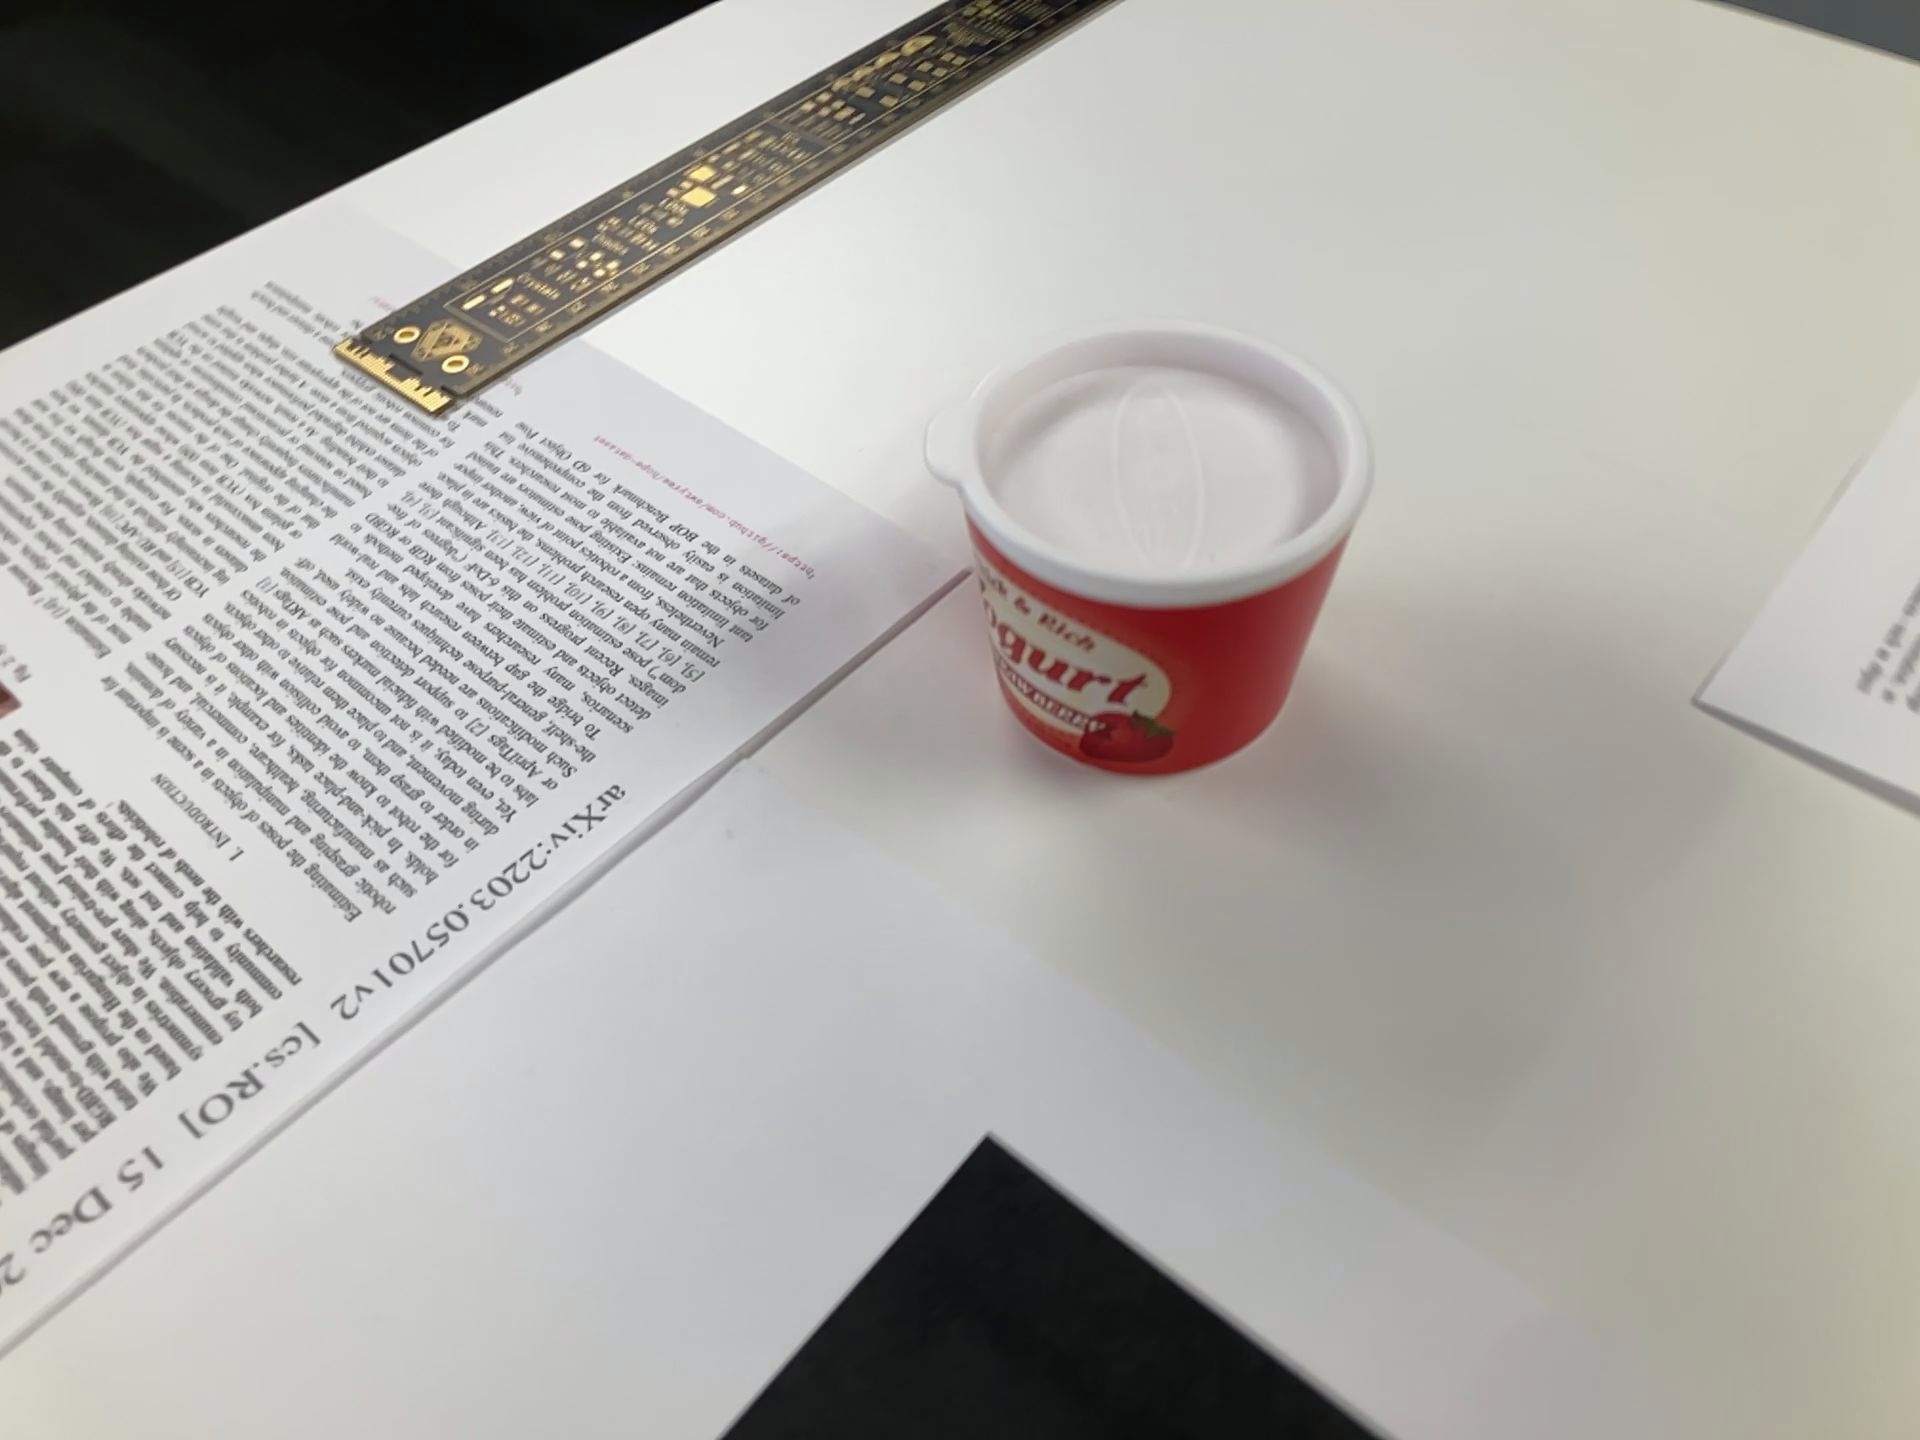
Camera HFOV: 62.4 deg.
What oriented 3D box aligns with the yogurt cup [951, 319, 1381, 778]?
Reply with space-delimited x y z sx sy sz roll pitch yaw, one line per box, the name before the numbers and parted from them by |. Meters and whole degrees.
yogurt cup | 0.033 -0.027 0.271 0.072 0.054 0.072 0 49 0
